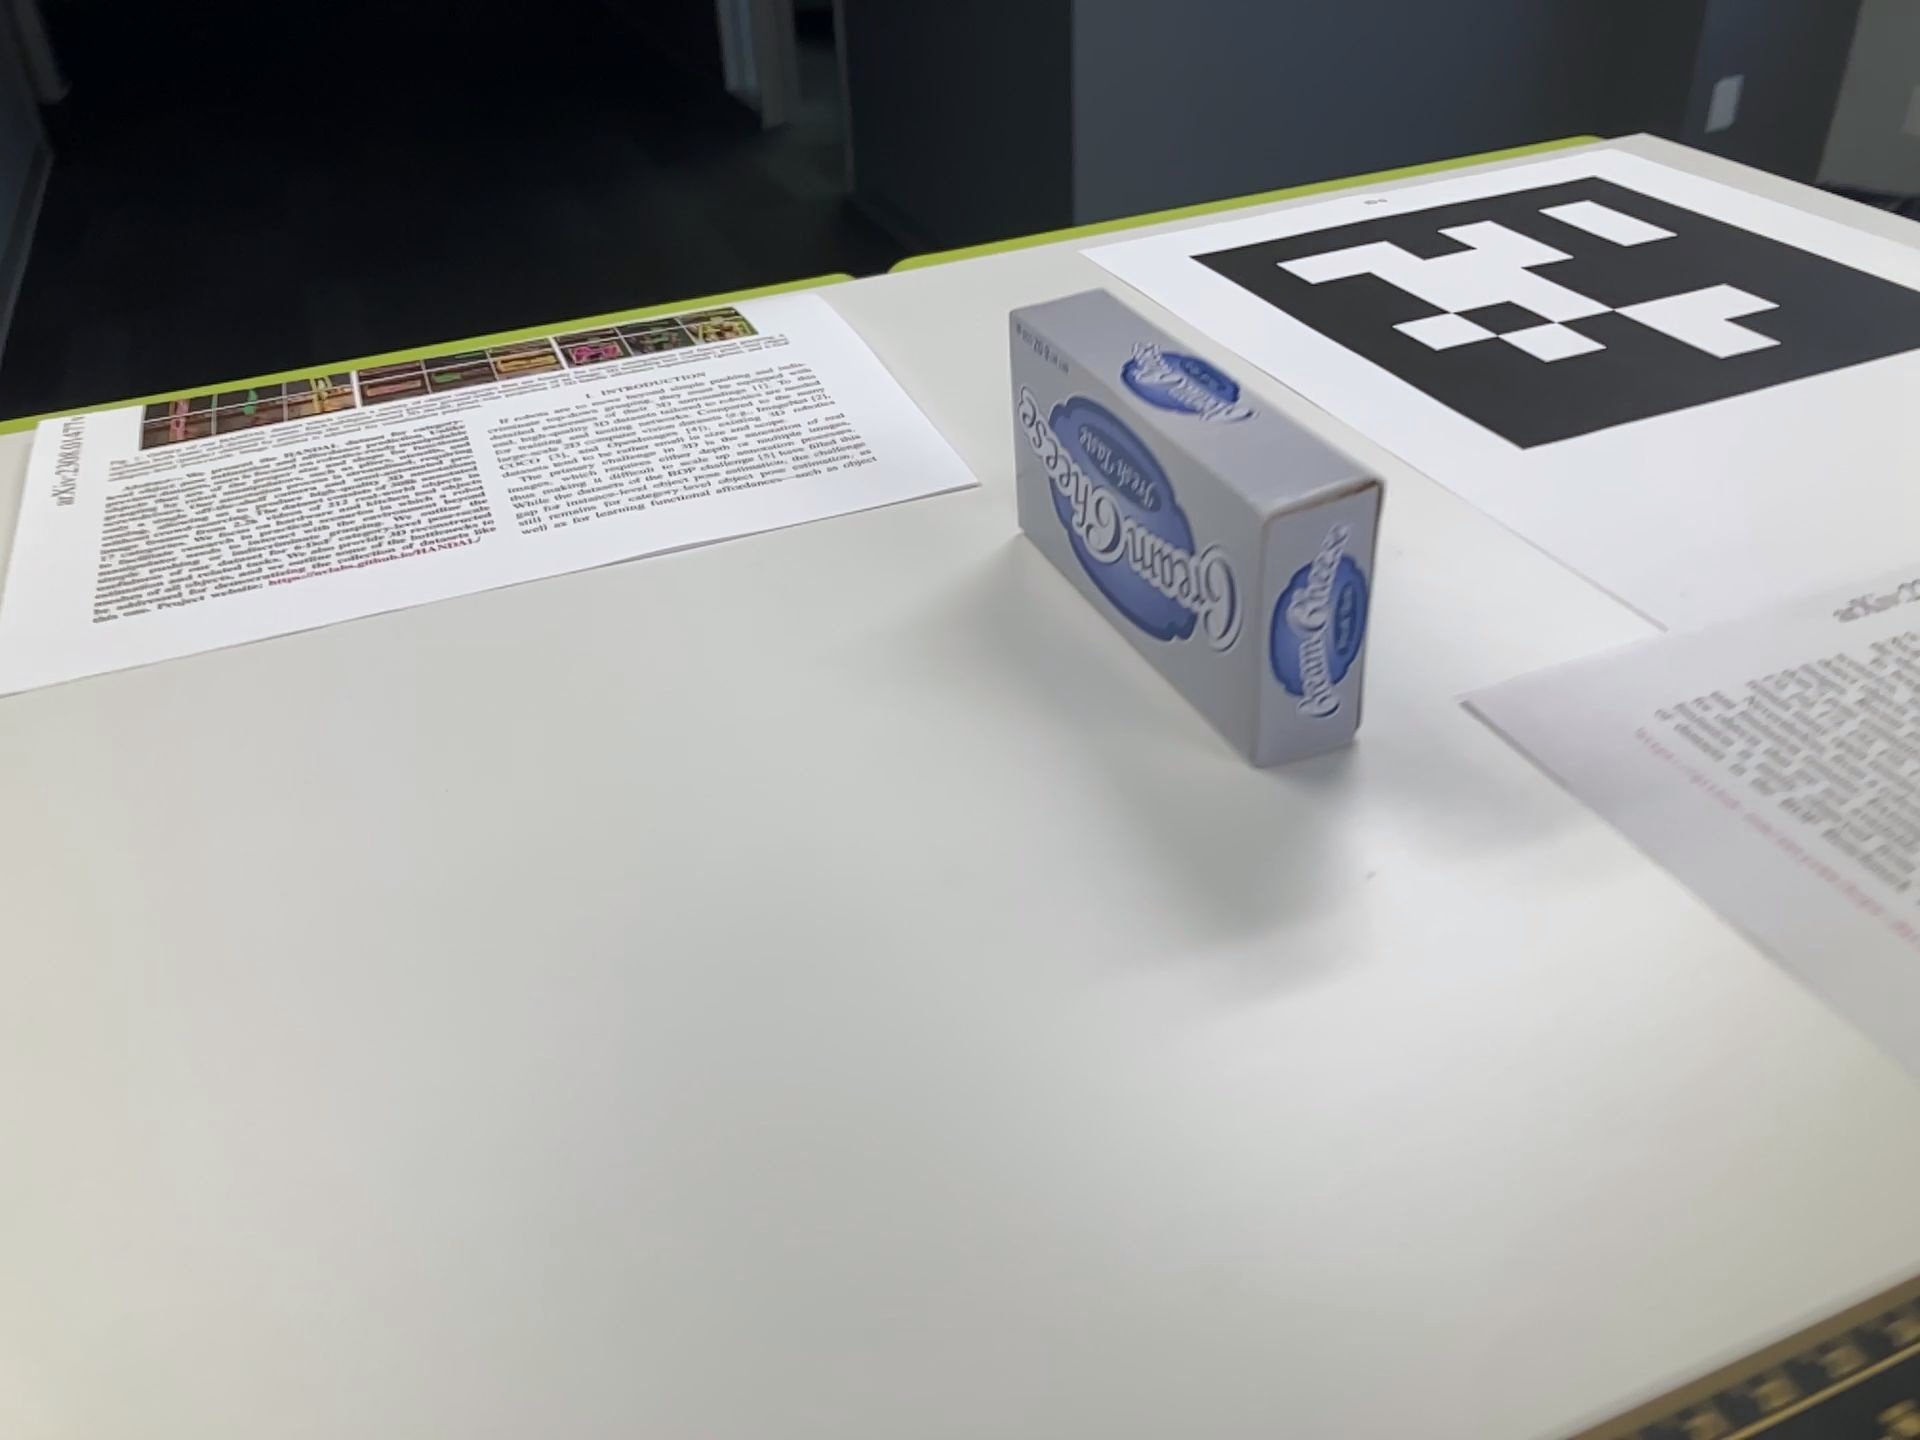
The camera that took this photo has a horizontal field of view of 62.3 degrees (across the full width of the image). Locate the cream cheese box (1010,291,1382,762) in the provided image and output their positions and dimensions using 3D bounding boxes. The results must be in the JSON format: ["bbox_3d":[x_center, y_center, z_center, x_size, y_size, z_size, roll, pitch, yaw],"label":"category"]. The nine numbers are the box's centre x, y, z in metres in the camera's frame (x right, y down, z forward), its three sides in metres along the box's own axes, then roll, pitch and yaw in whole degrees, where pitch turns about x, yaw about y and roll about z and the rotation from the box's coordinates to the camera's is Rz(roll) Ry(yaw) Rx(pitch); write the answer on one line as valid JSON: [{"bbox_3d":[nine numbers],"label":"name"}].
[{"bbox_3d":[0.042,-0.041,0.311,0.024,0.053,0.104,-17,37,-16],"label":"cream cheese box"}]
